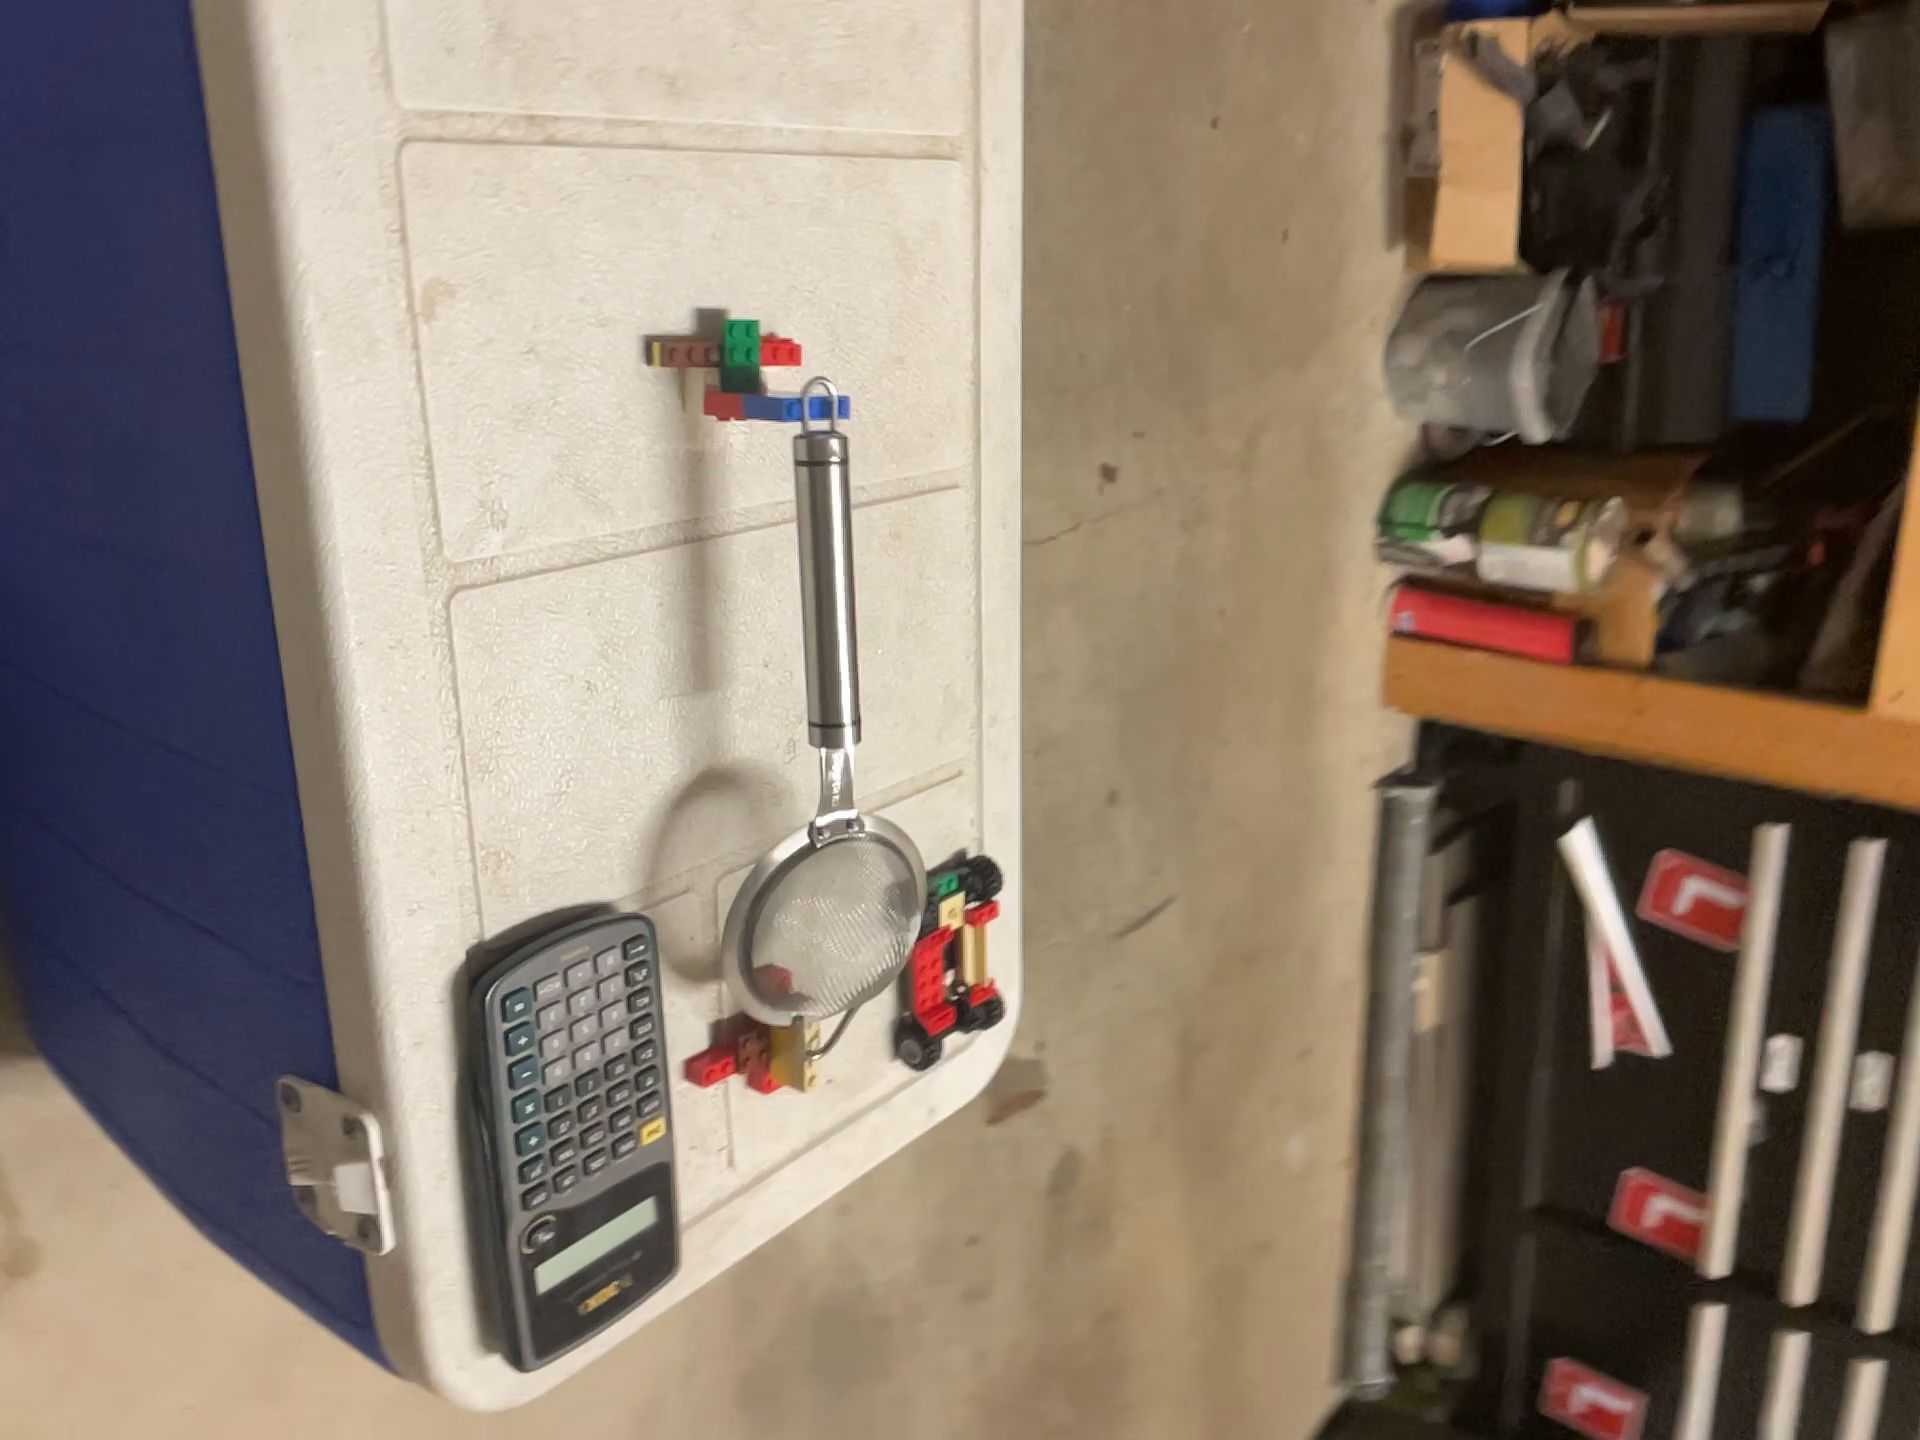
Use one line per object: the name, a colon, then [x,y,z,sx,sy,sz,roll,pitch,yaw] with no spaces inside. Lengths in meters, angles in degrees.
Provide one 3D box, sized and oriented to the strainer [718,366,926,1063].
strainer: [-0.045,0.009,0.554,0.087,0.050,0.258,-12,108,-34]
